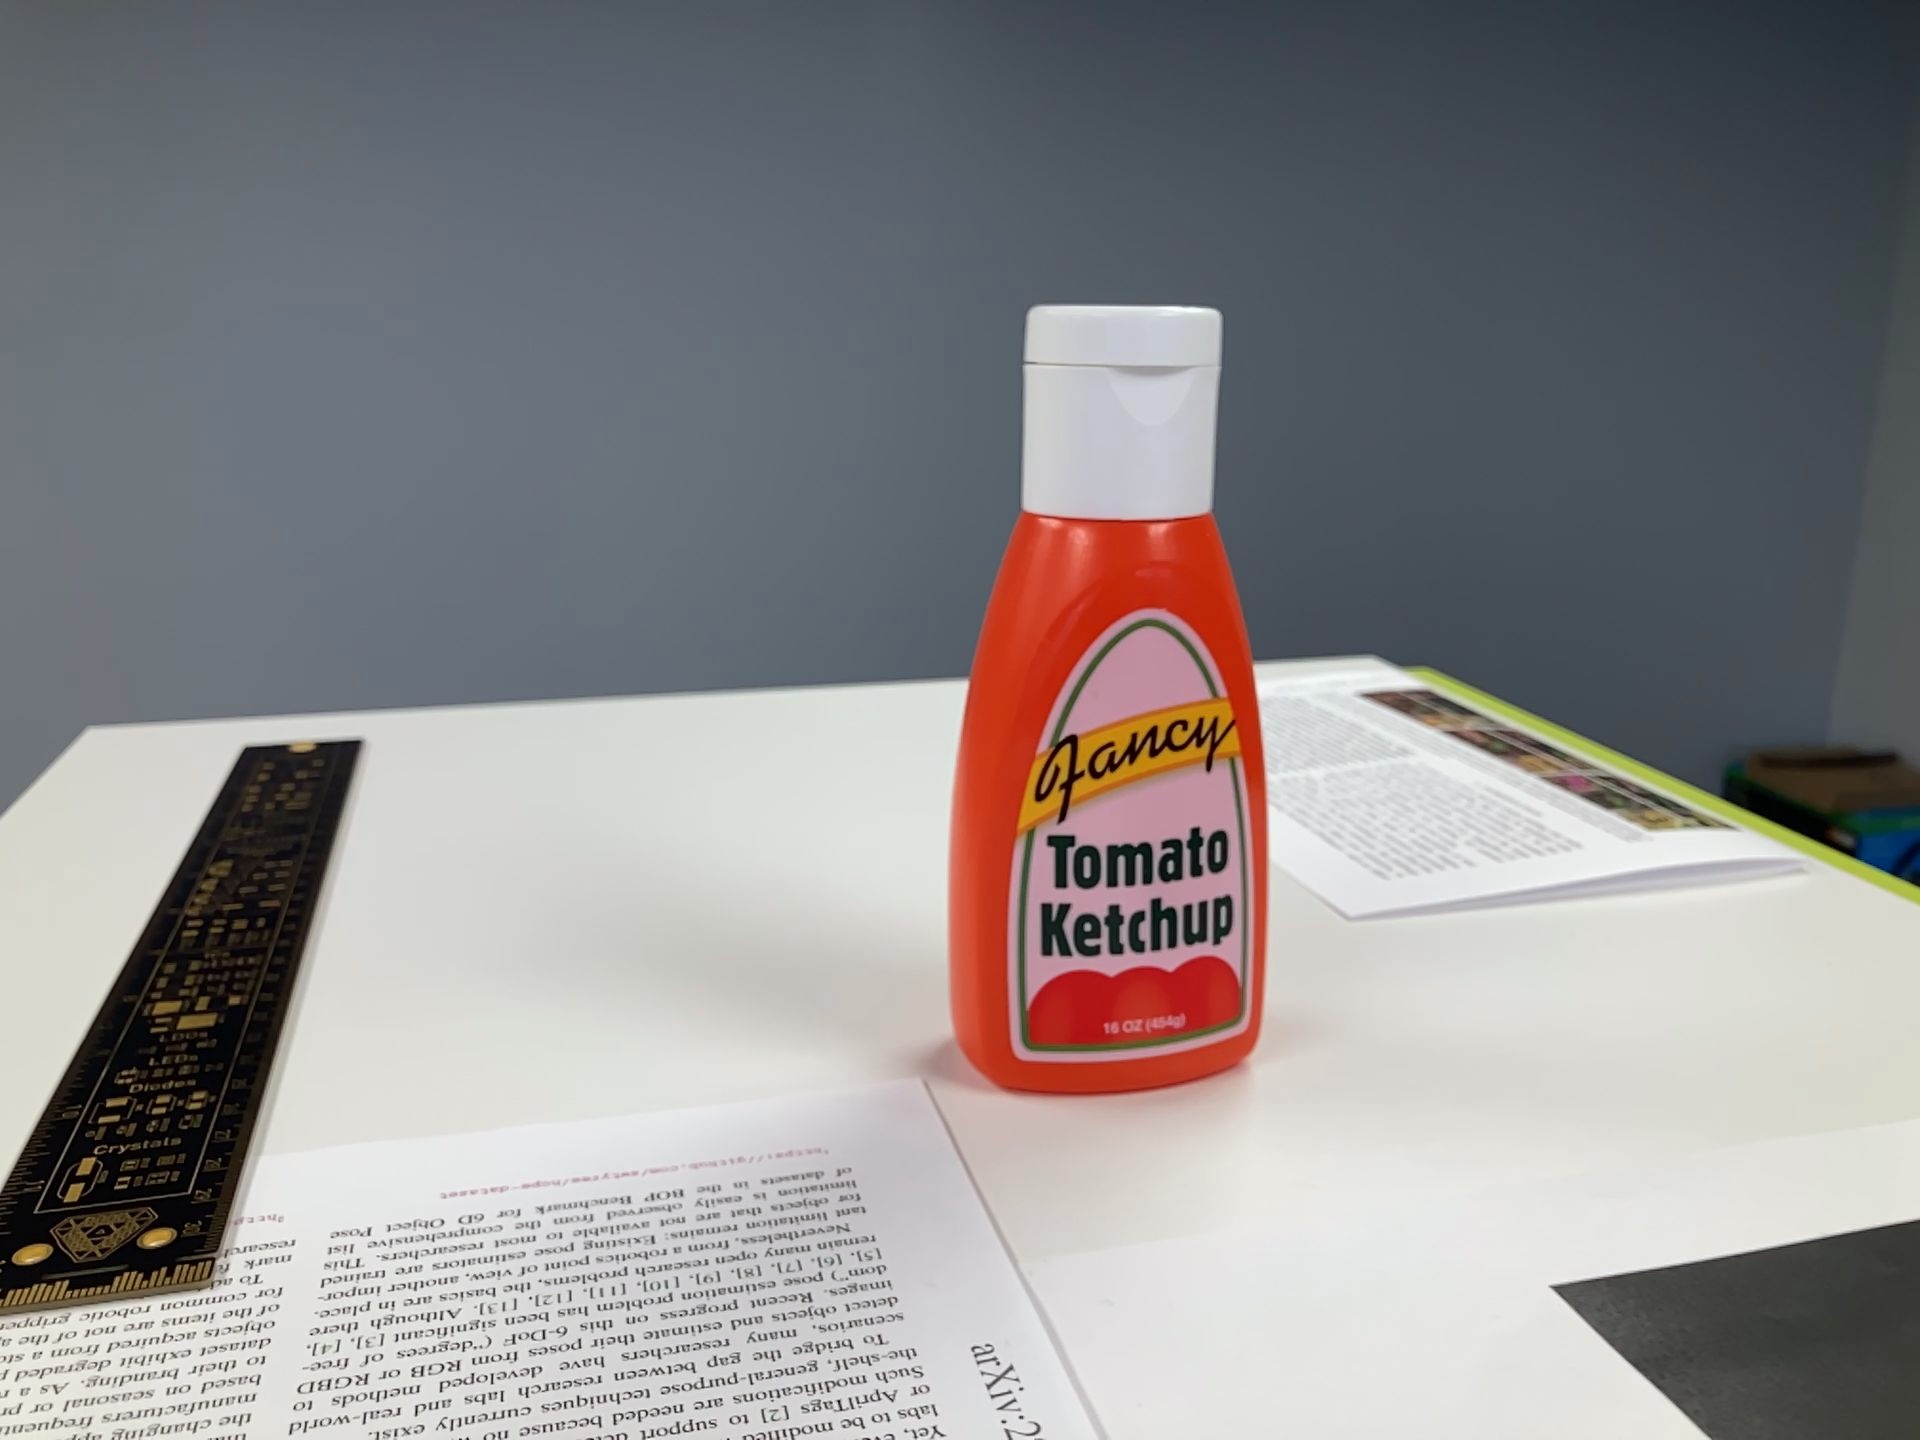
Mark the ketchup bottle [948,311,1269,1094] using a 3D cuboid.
[{"bbox_3d":[0.030,-0.004,0.315,0.065,0.149,0.043,-3,13,-14],"label":"ketchup bottle"}]
